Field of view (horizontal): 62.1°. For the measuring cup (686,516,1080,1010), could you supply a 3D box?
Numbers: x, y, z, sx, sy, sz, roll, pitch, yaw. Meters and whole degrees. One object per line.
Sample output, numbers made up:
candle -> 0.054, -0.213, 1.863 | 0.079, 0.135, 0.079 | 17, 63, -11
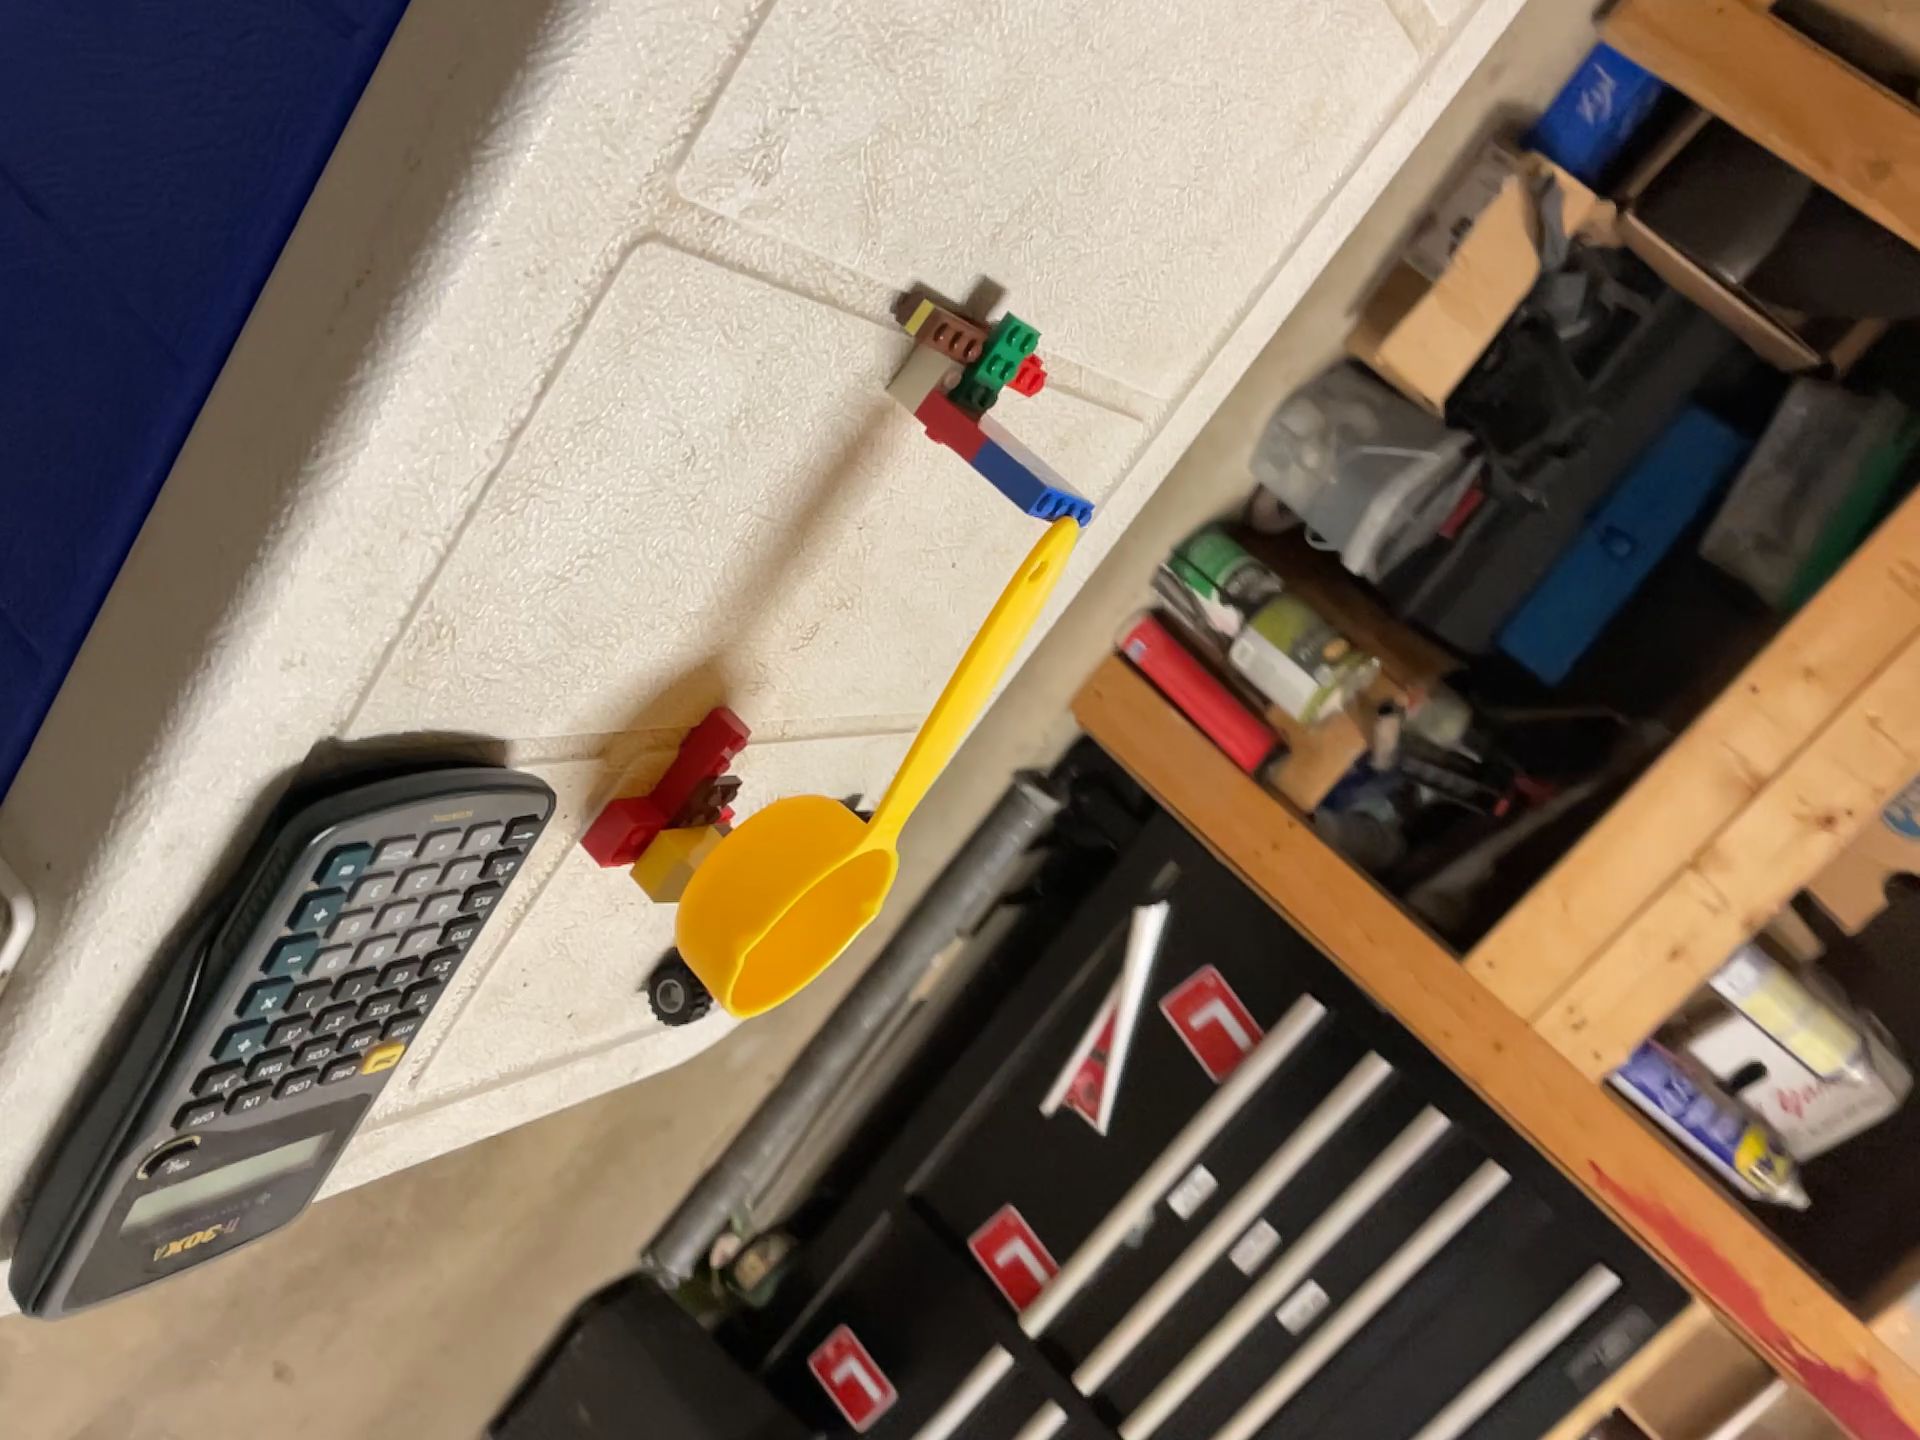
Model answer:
measuring cup -> -0.021, 0.007, 0.408 | 0.156, 0.029, 0.062 | -57, 159, 18
